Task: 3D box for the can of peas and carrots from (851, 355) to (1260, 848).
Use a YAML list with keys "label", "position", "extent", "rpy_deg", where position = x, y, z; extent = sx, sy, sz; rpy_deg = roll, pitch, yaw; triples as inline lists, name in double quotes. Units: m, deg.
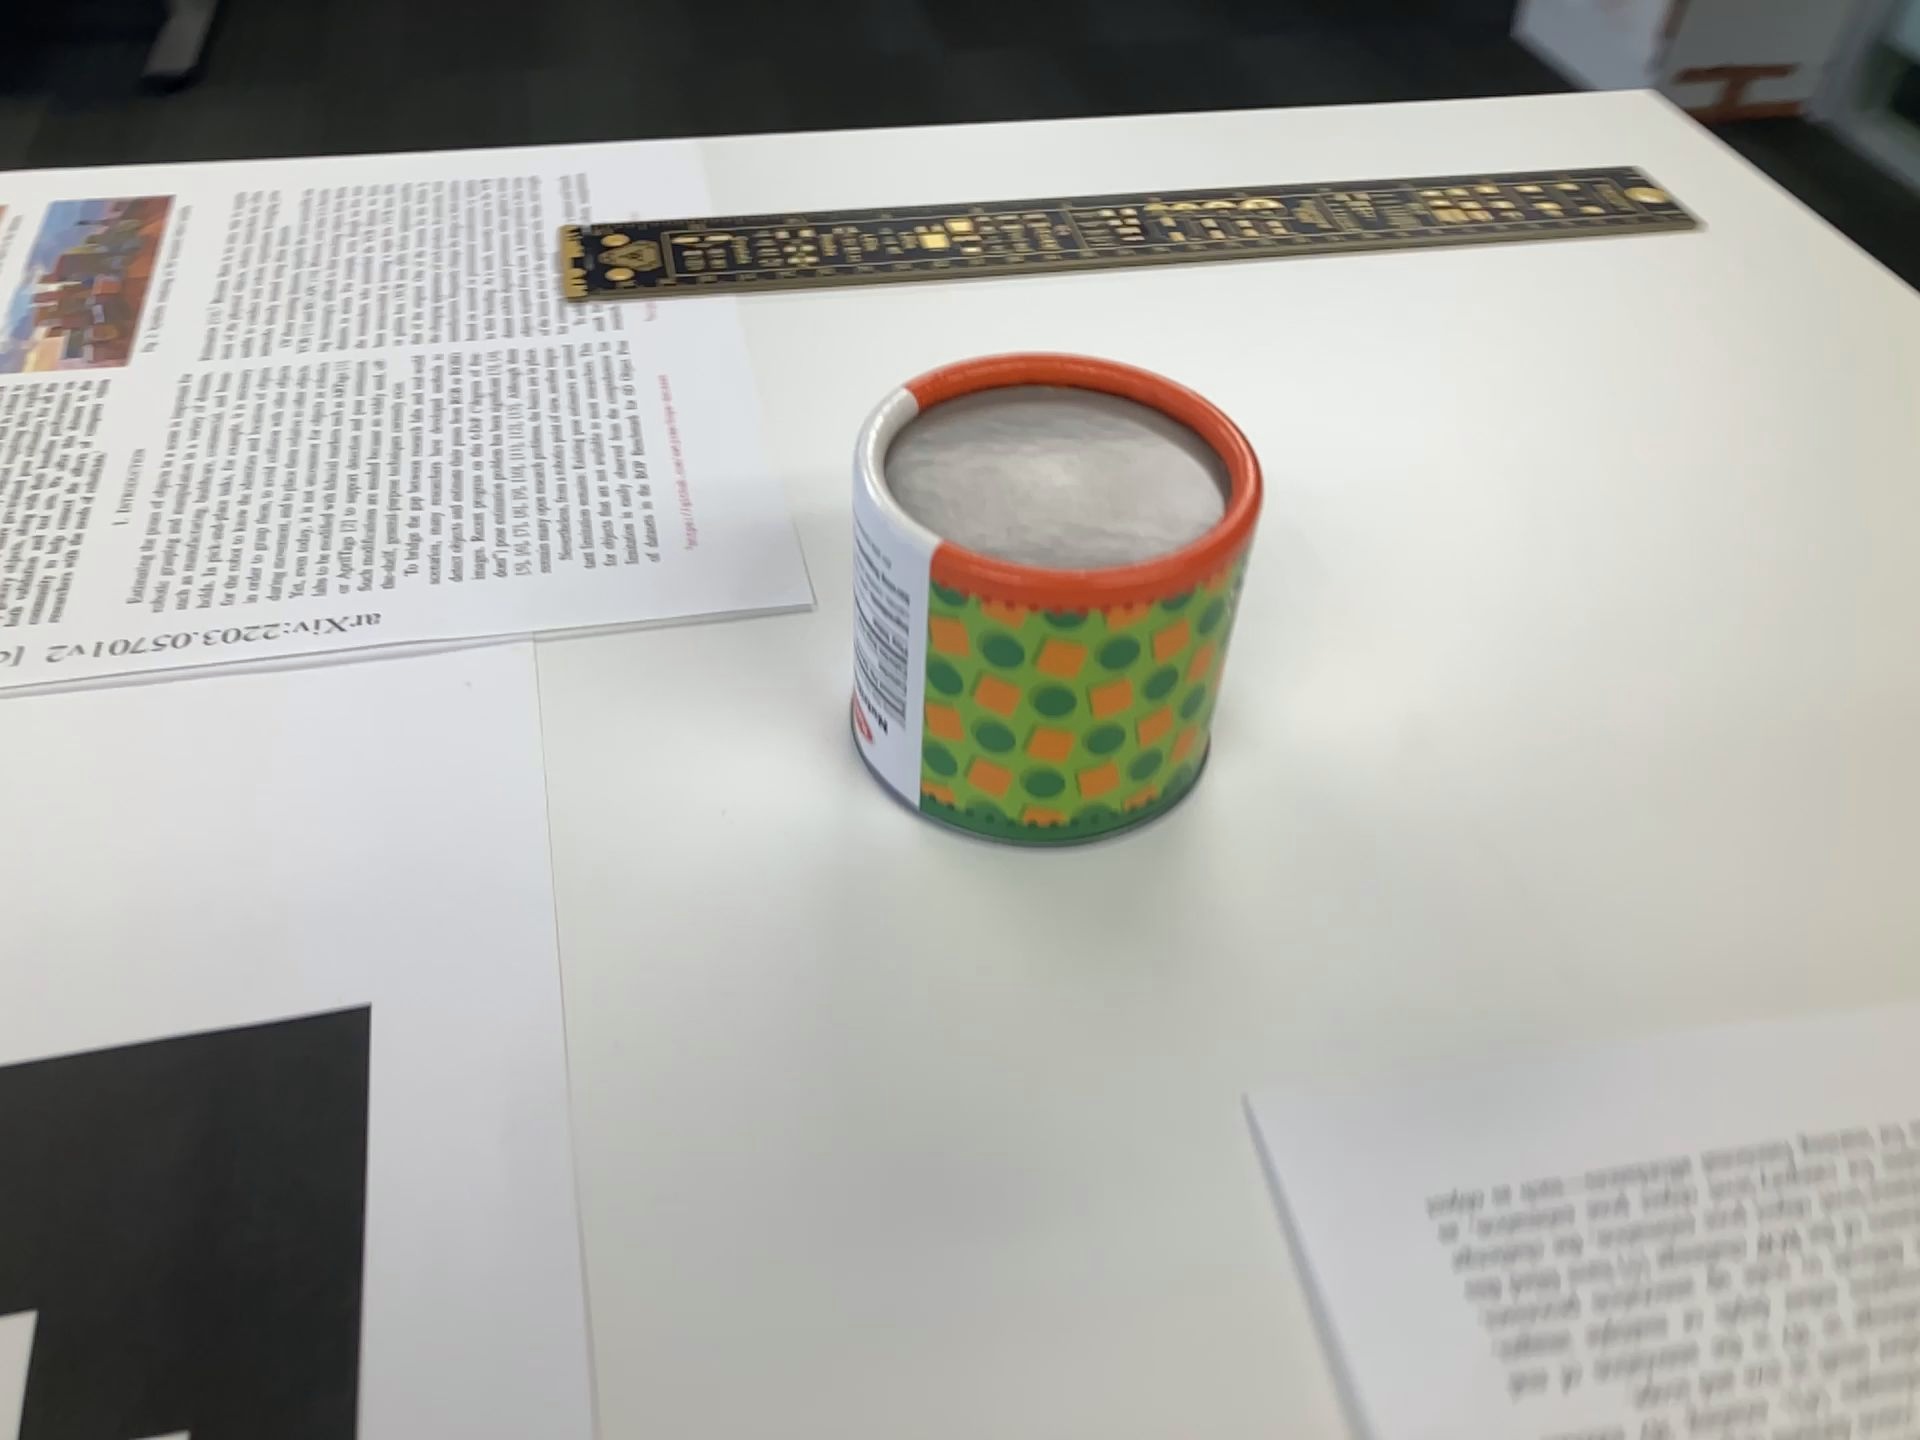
- label: "can of peas and carrots"
  position: [0.017, -0.022, 0.276]
  extent: [0.071, 0.059, 0.071]
  rpy_deg: [2, 44, -2]
